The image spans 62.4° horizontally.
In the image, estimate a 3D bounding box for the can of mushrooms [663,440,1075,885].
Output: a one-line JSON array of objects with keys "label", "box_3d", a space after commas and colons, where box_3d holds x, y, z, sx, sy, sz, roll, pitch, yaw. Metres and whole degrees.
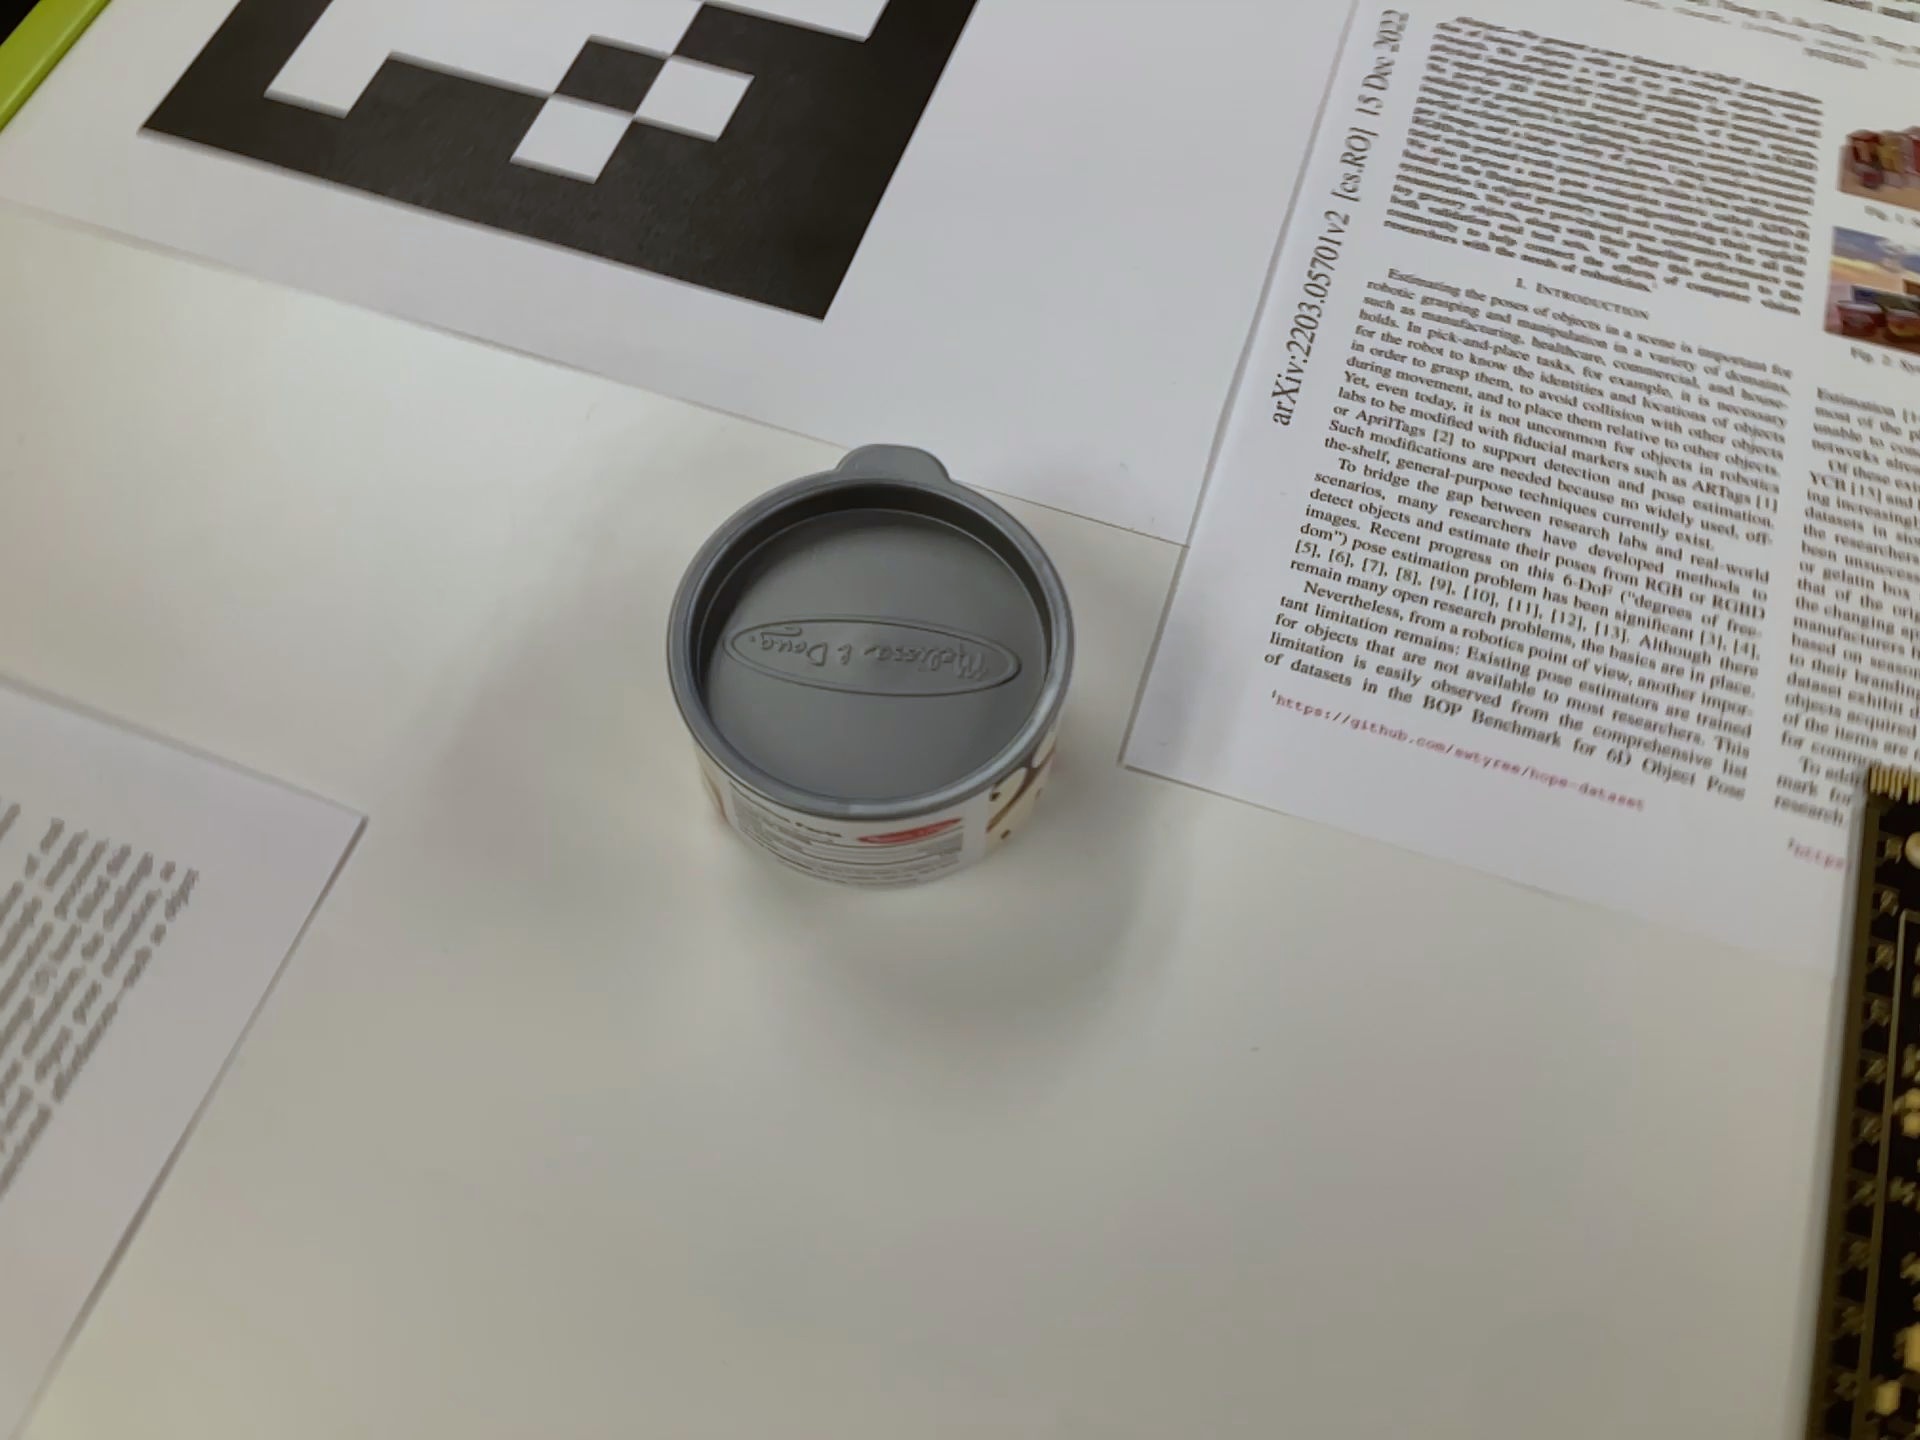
[{"label": "can of mushrooms", "box_3d": [-0.014, -0.010, 0.269, 0.071, 0.033, 0.071, 0, 63, 0]}]
